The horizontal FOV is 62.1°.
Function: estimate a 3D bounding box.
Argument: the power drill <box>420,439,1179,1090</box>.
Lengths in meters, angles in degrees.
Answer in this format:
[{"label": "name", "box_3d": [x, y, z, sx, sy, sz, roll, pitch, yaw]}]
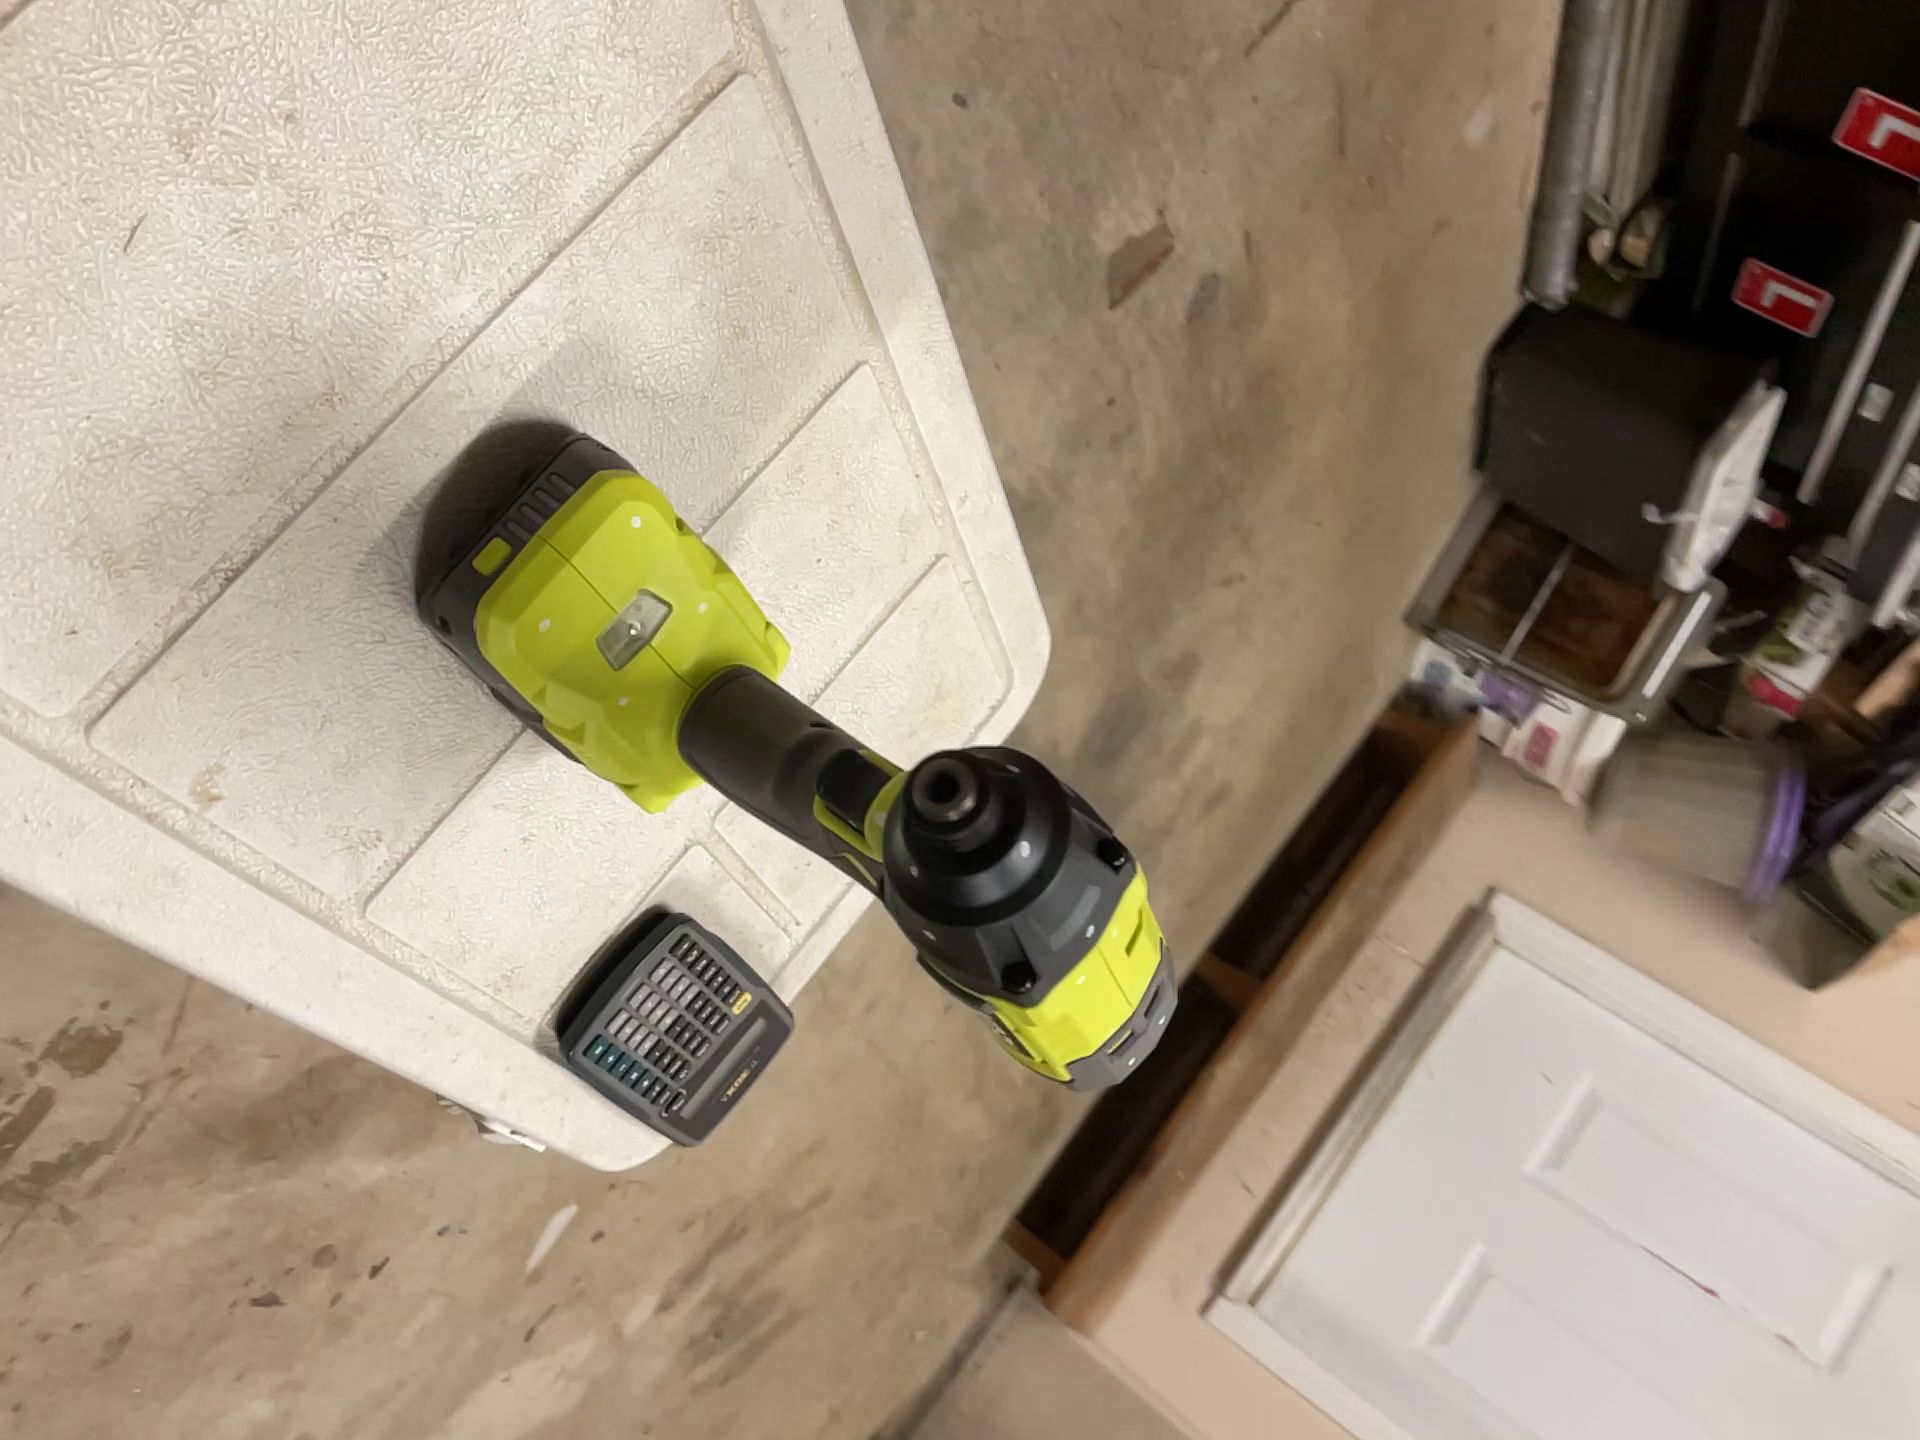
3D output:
[{"label": "power drill", "box_3d": [-0.045, 0.011, 0.465, 0.080, 0.223, 0.171, -52, 153, -12]}]
